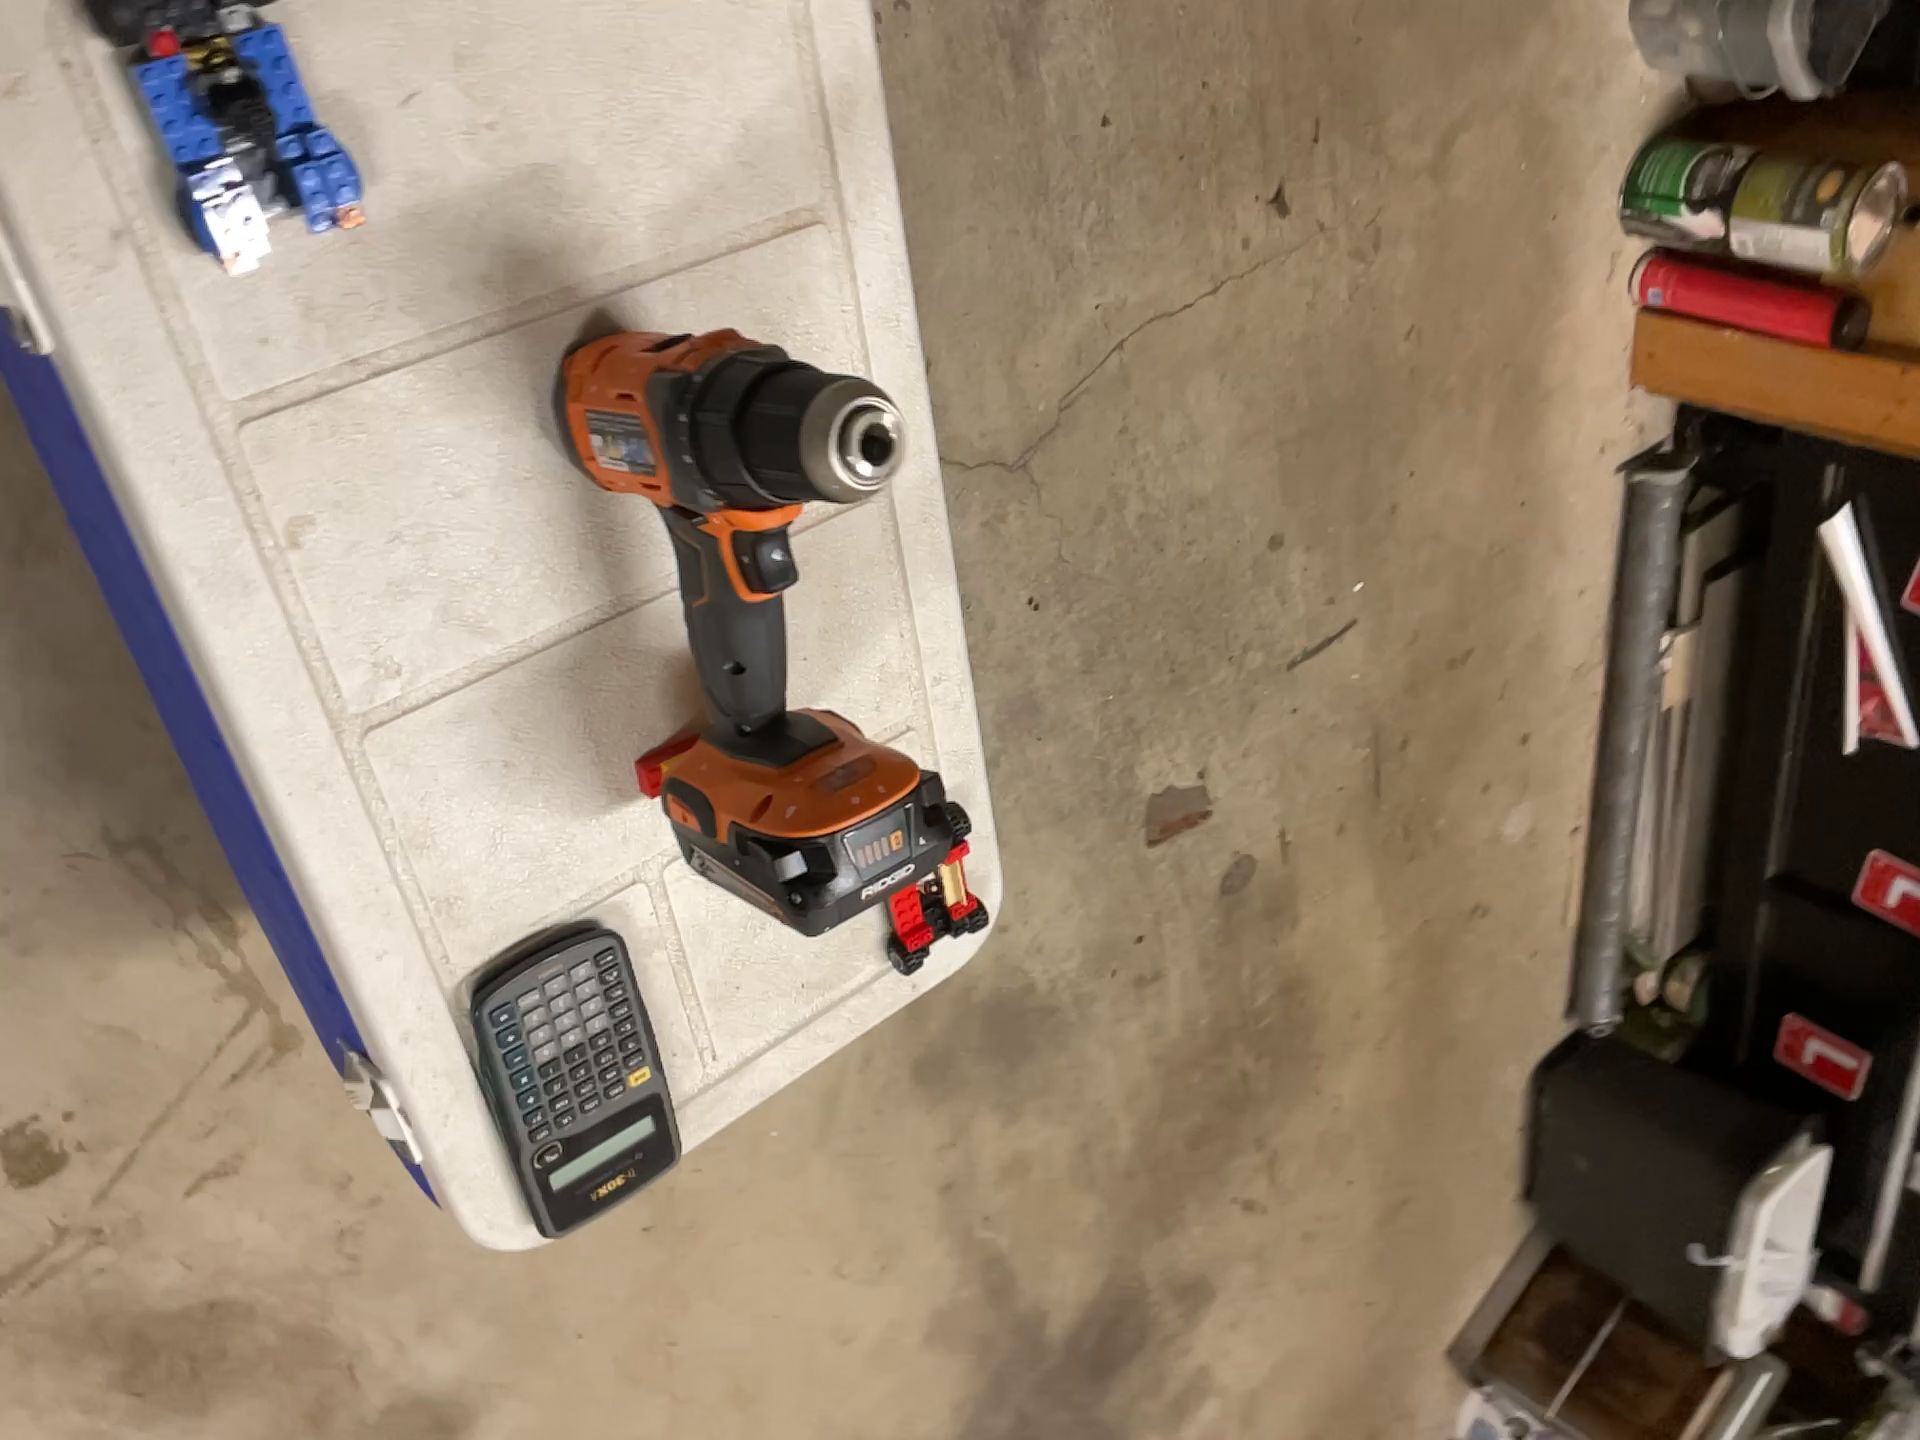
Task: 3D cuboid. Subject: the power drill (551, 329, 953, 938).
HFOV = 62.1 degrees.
[{"bbox_3d":[-0.068,-0.035,0.606,0.084,0.185,0.226,-27,117,-32],"label":"power drill"}]
